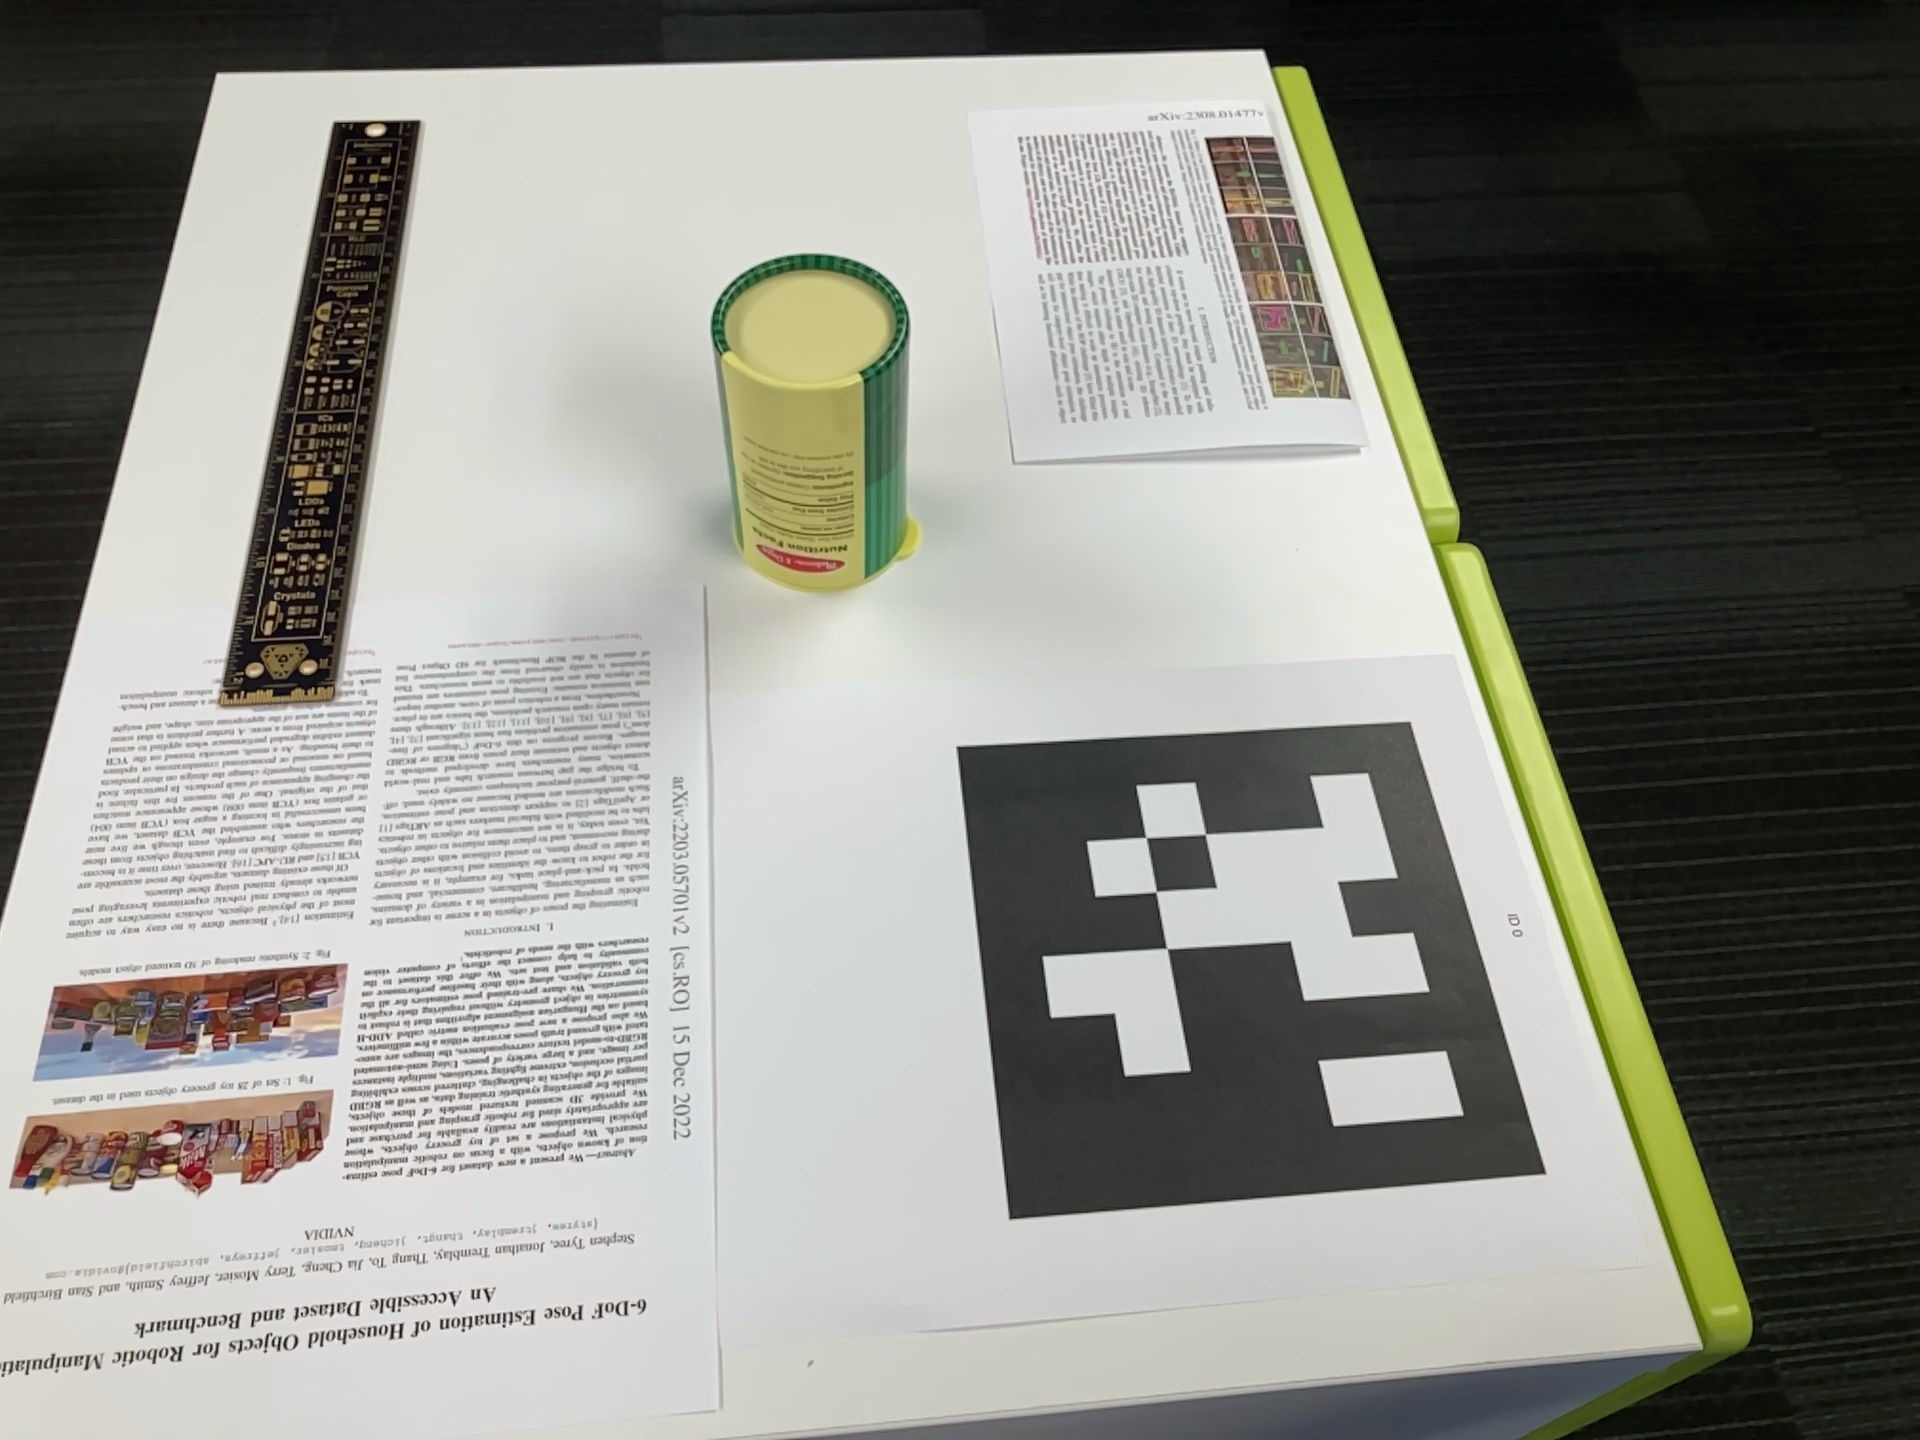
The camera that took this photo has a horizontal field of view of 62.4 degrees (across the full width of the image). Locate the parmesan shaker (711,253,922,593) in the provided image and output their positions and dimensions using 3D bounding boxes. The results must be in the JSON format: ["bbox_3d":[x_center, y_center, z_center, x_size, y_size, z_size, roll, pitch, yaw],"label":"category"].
[{"bbox_3d":[-0.047,-0.102,0.554,0.071,0.103,0.071,2,56,-2],"label":"parmesan shaker"}]
